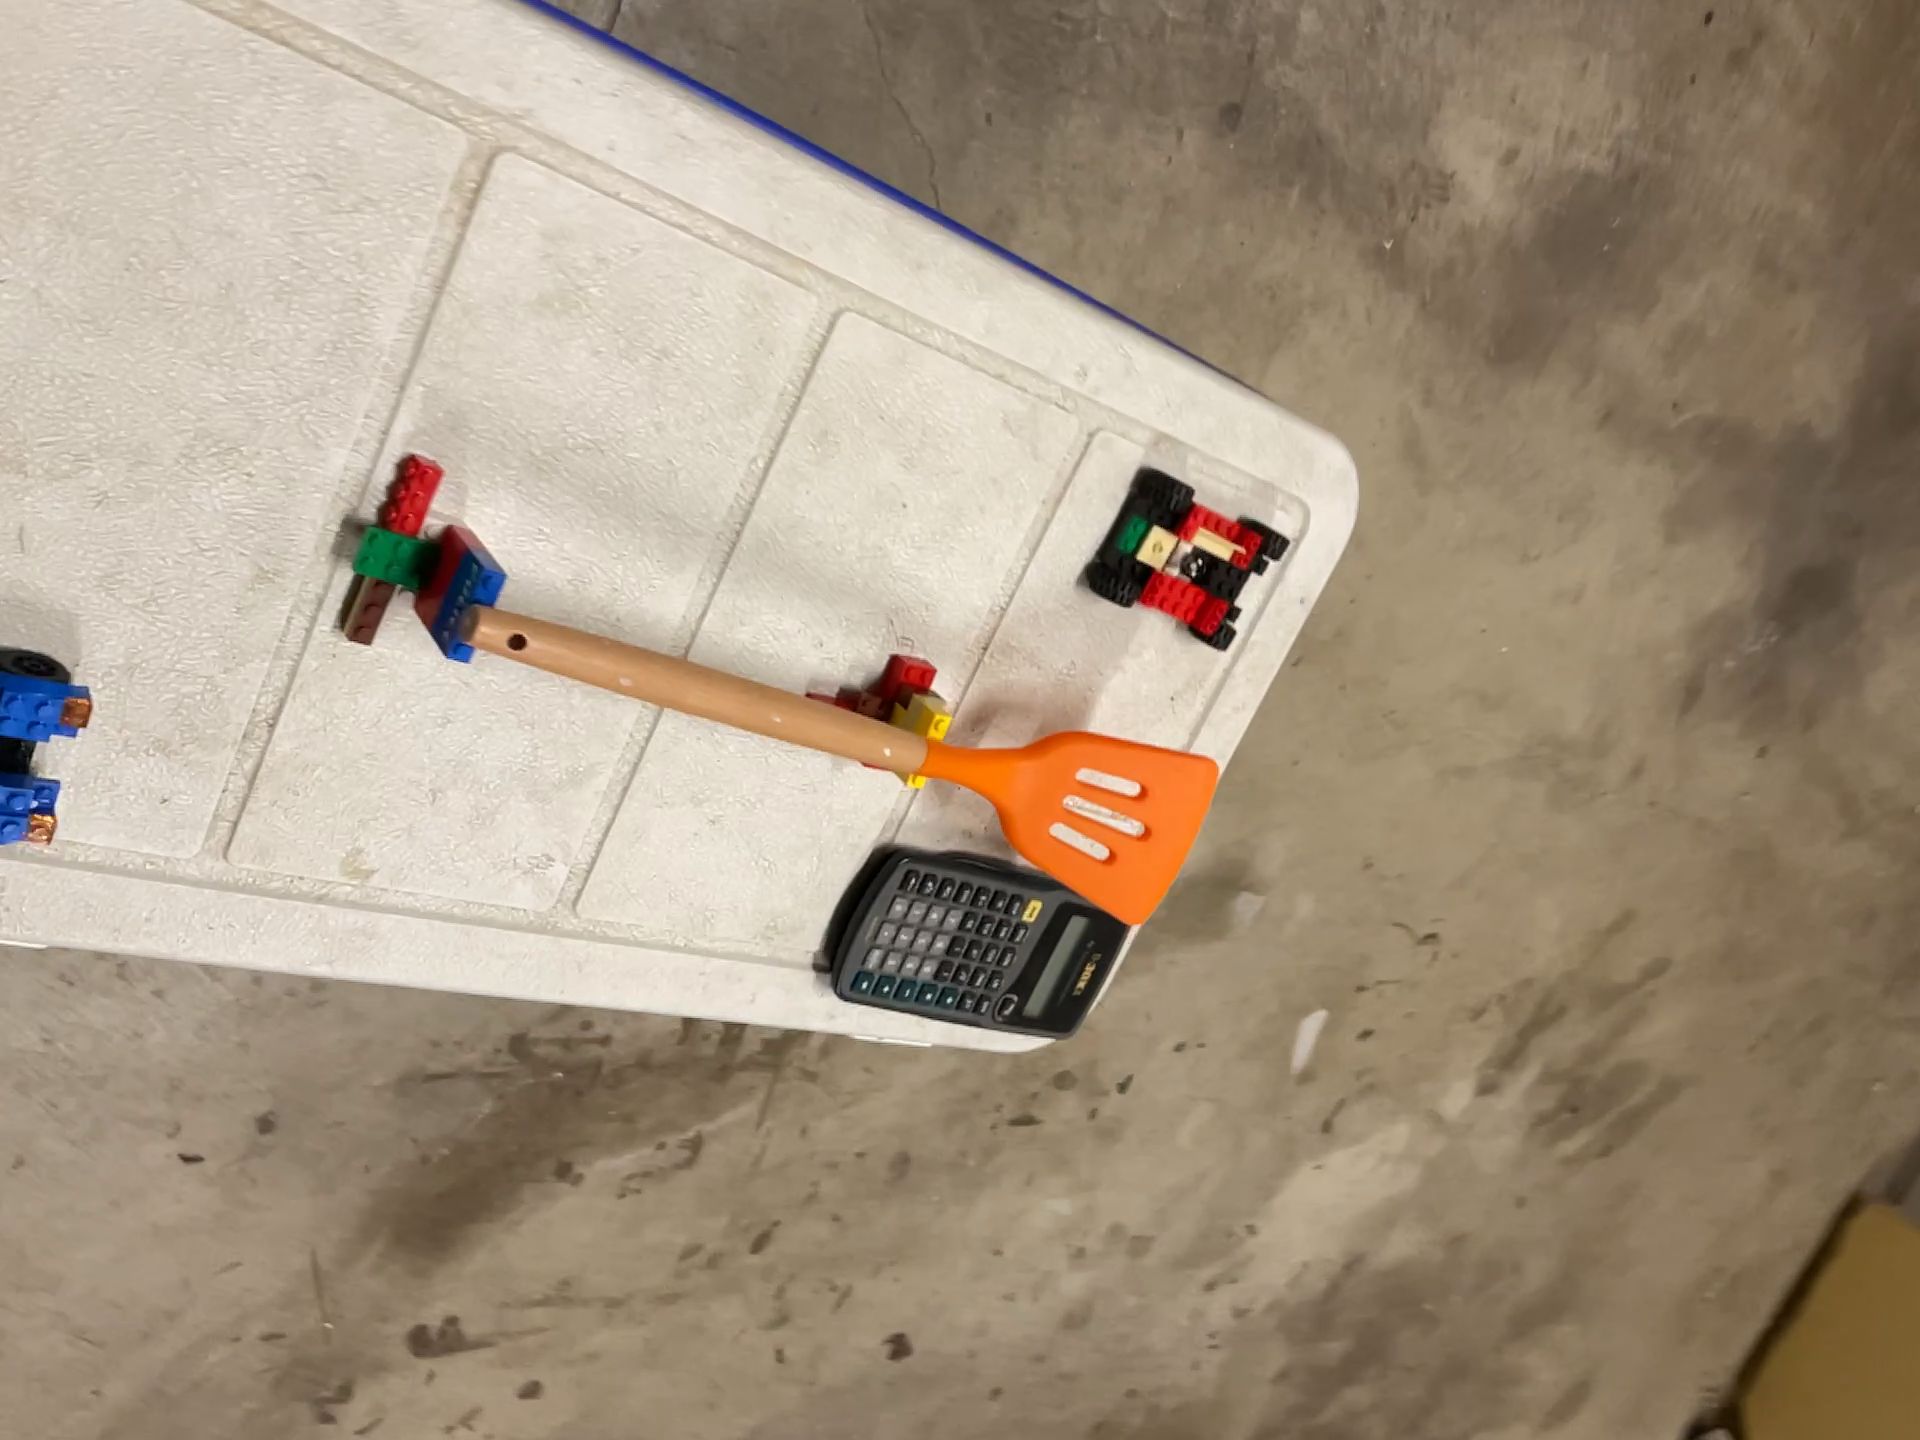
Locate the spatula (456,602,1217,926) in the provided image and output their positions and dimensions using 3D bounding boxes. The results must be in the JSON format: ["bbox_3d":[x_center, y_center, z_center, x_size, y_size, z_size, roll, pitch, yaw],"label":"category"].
[{"bbox_3d":[-0.031,0.010,0.589,0.322,0.041,0.081,18,102,-40],"label":"spatula"}]
